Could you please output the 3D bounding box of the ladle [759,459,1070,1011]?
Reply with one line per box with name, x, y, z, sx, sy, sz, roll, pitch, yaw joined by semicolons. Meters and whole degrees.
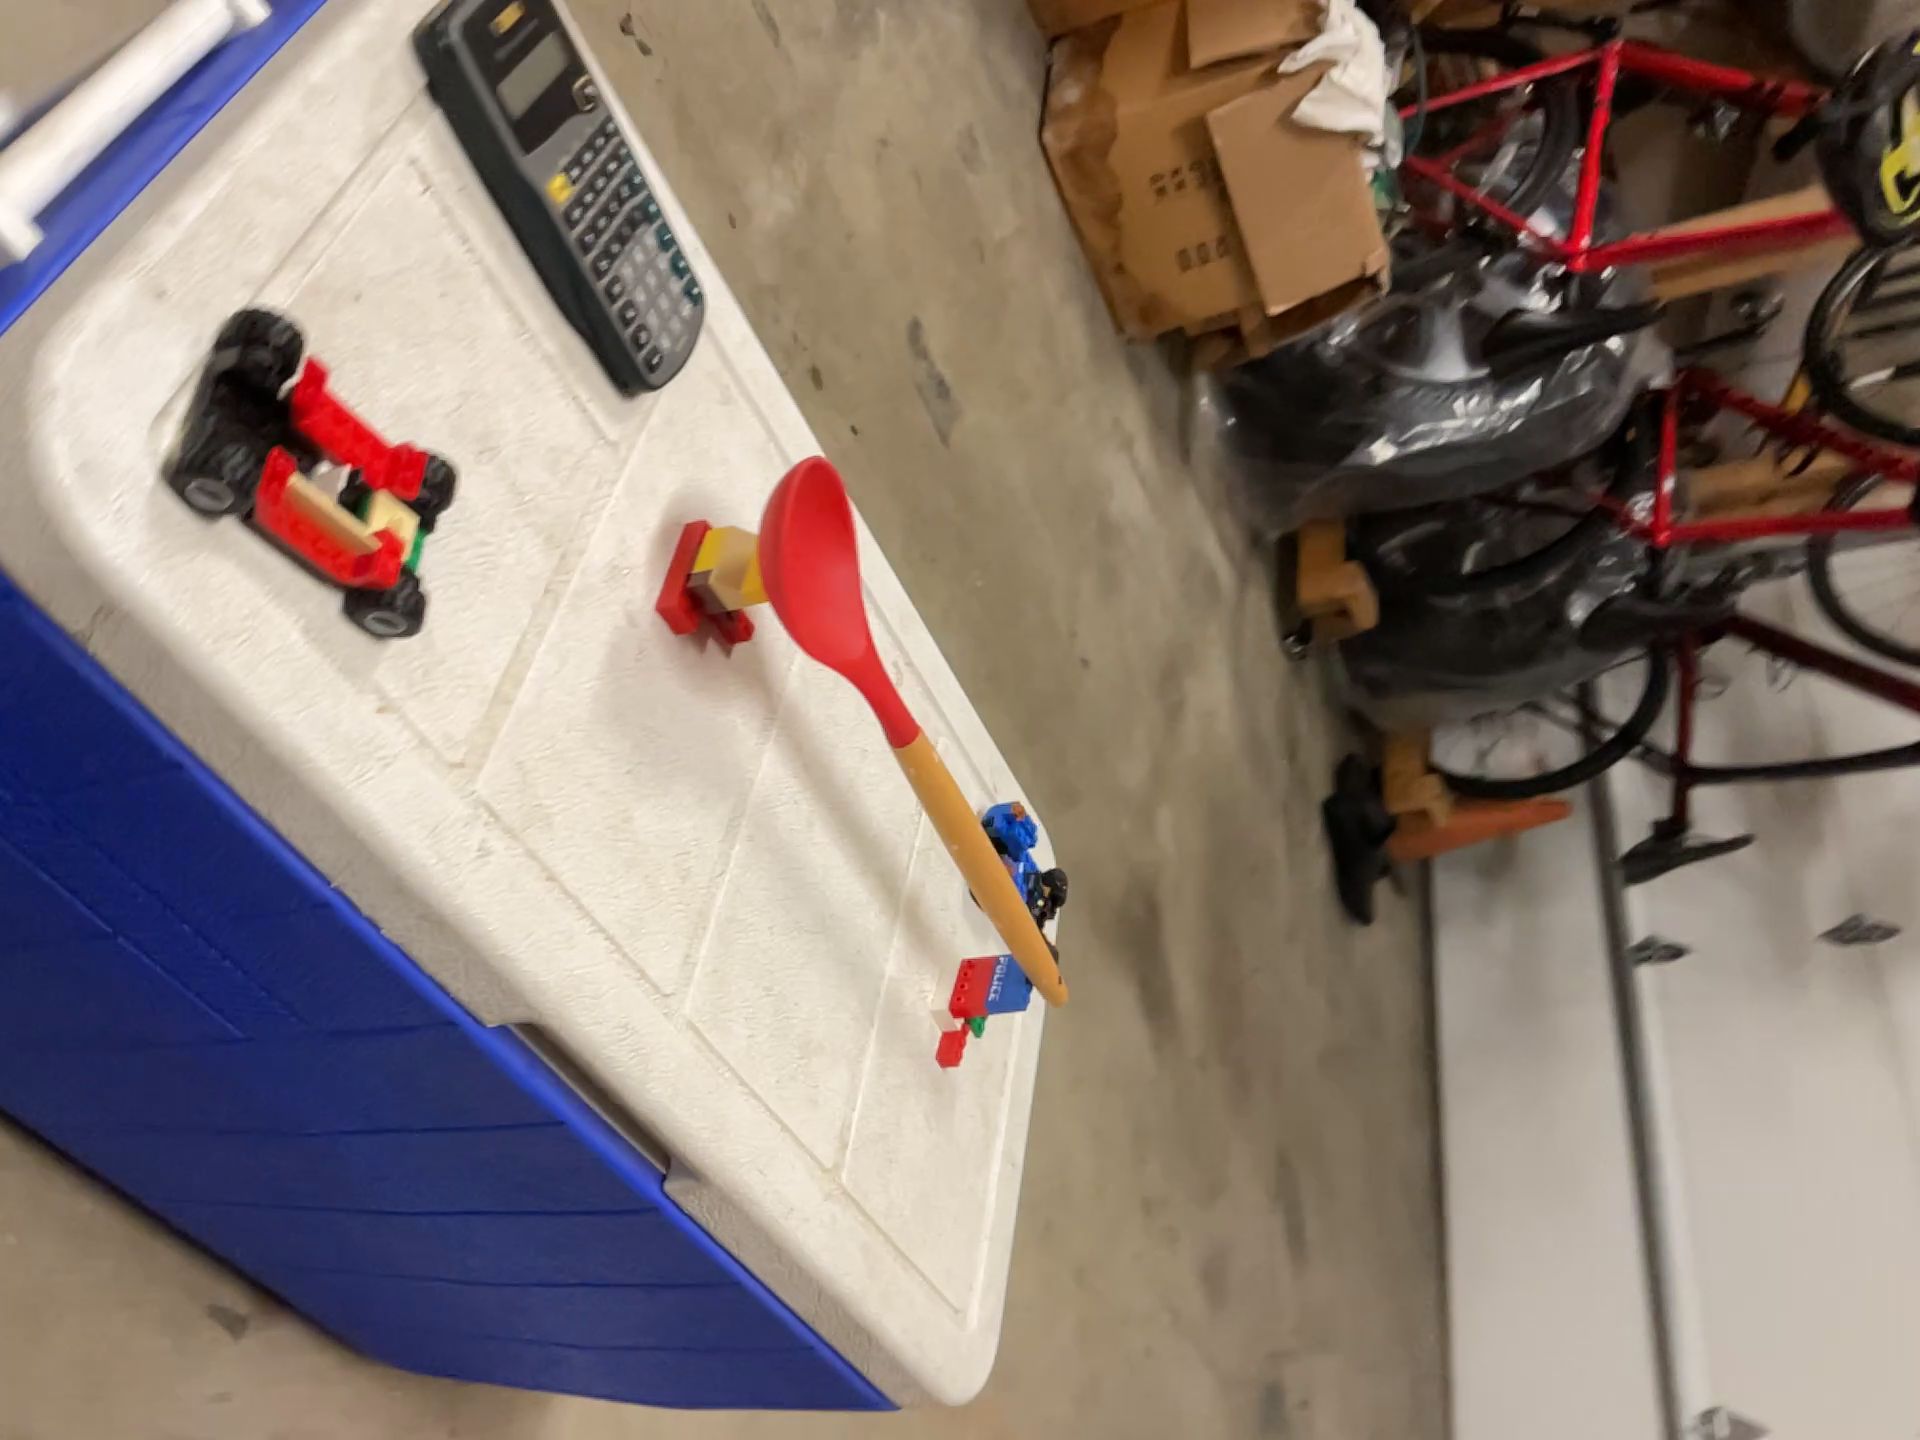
ladle;-0.012;0.024;0.677;0.315;0.031;0.069;62;34;-36
